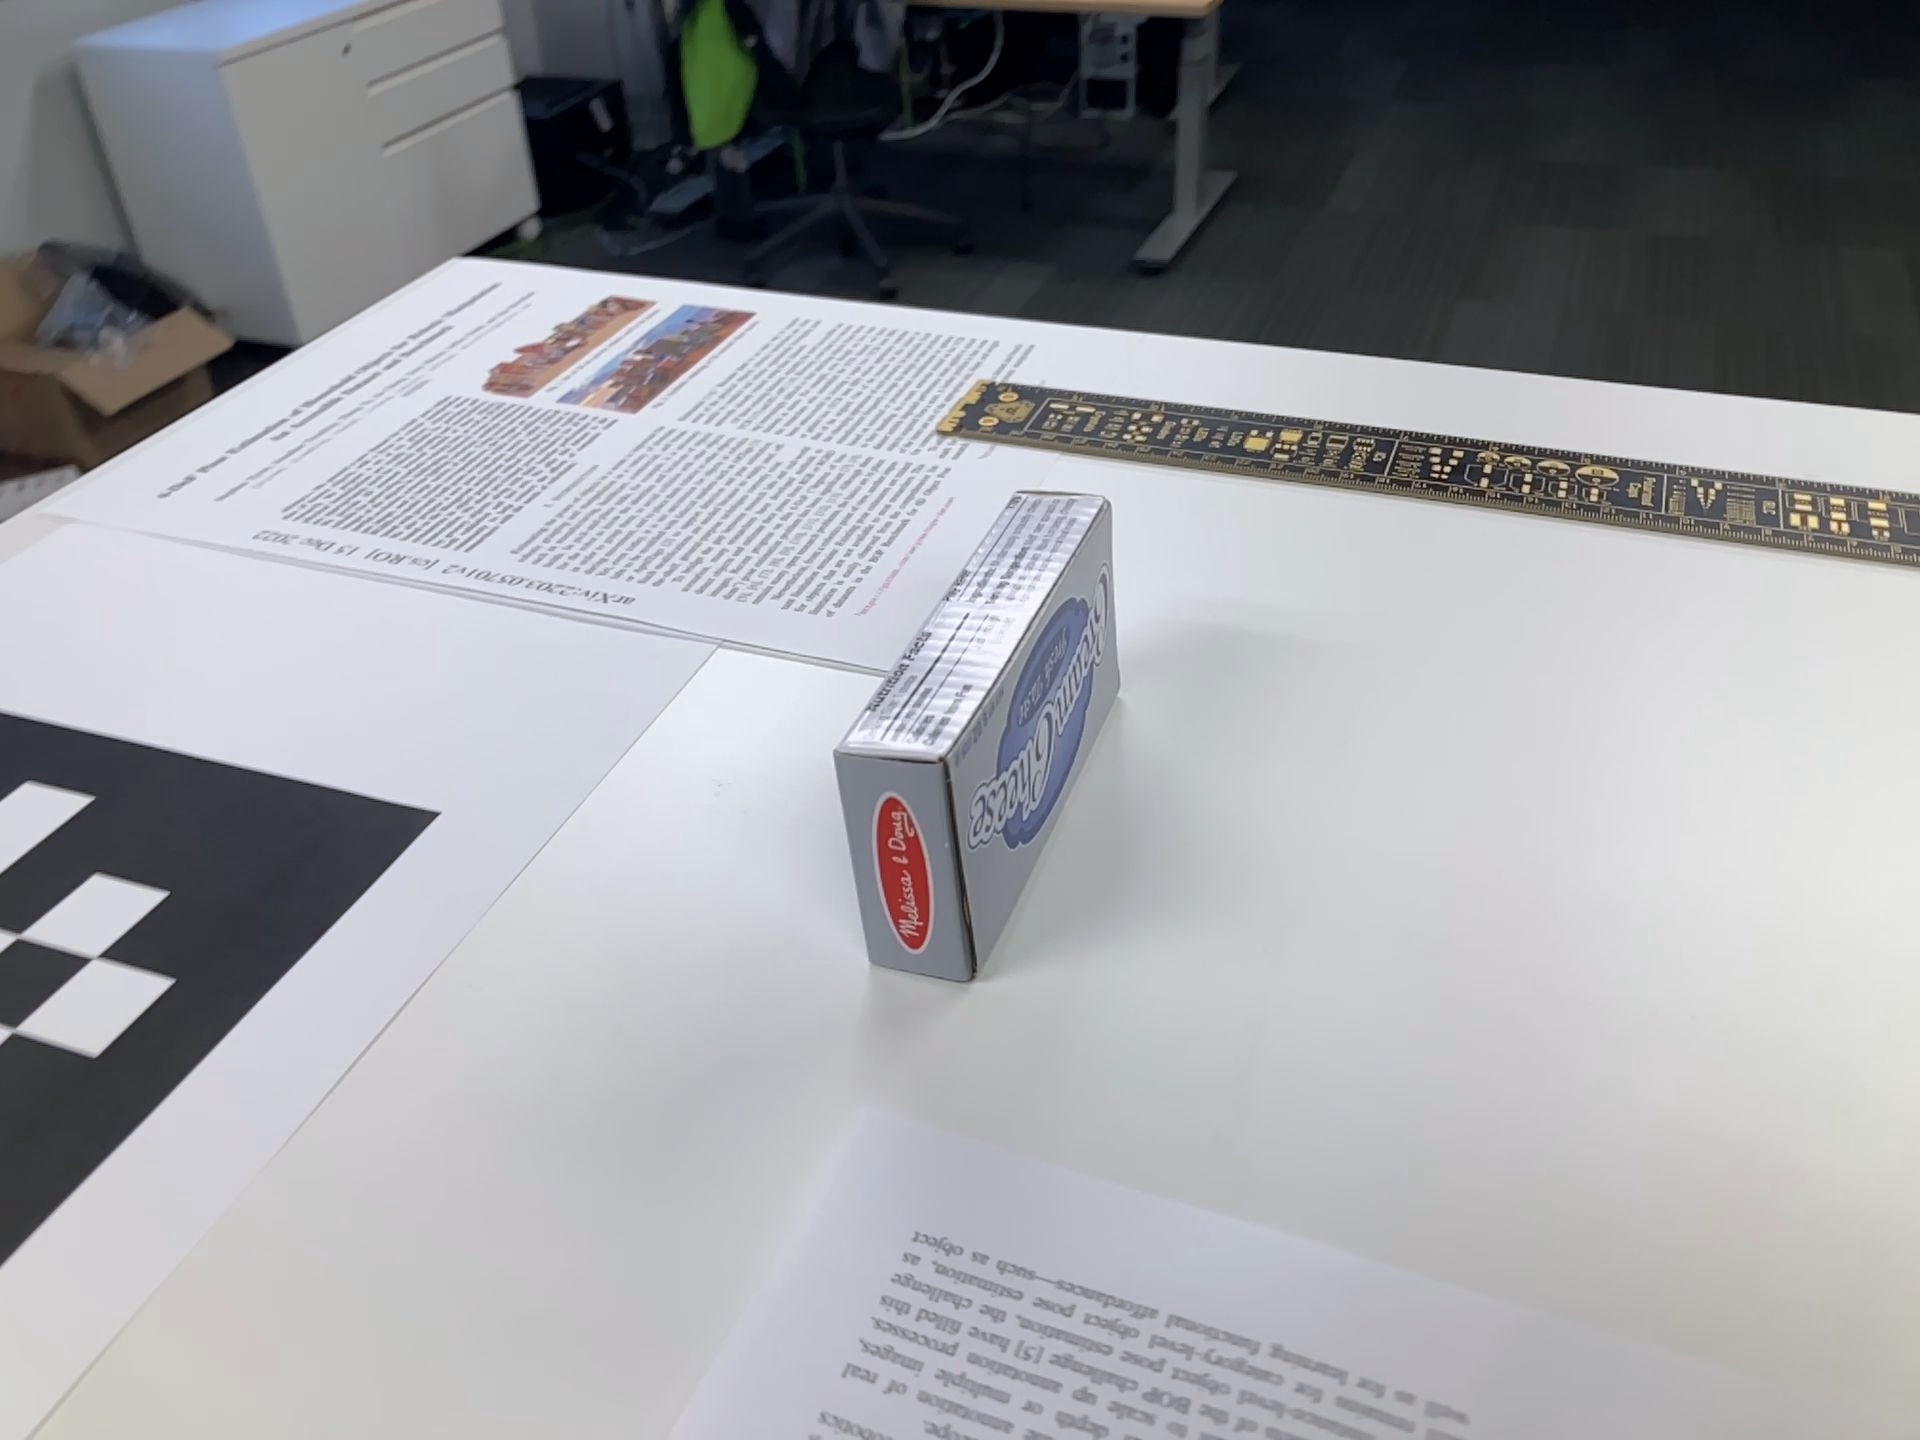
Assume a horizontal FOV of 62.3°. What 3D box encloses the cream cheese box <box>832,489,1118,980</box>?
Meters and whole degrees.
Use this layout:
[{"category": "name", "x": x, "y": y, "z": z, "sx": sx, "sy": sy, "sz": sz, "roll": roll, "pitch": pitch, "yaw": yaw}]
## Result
[{"category": "cream cheese box", "x": 0.007, "y": -0.002, "z": 0.329, "sx": 0.024, "sy": 0.053, "sz": 0.104, "roll": 8, "pitch": 37, "yaw": 19}]
